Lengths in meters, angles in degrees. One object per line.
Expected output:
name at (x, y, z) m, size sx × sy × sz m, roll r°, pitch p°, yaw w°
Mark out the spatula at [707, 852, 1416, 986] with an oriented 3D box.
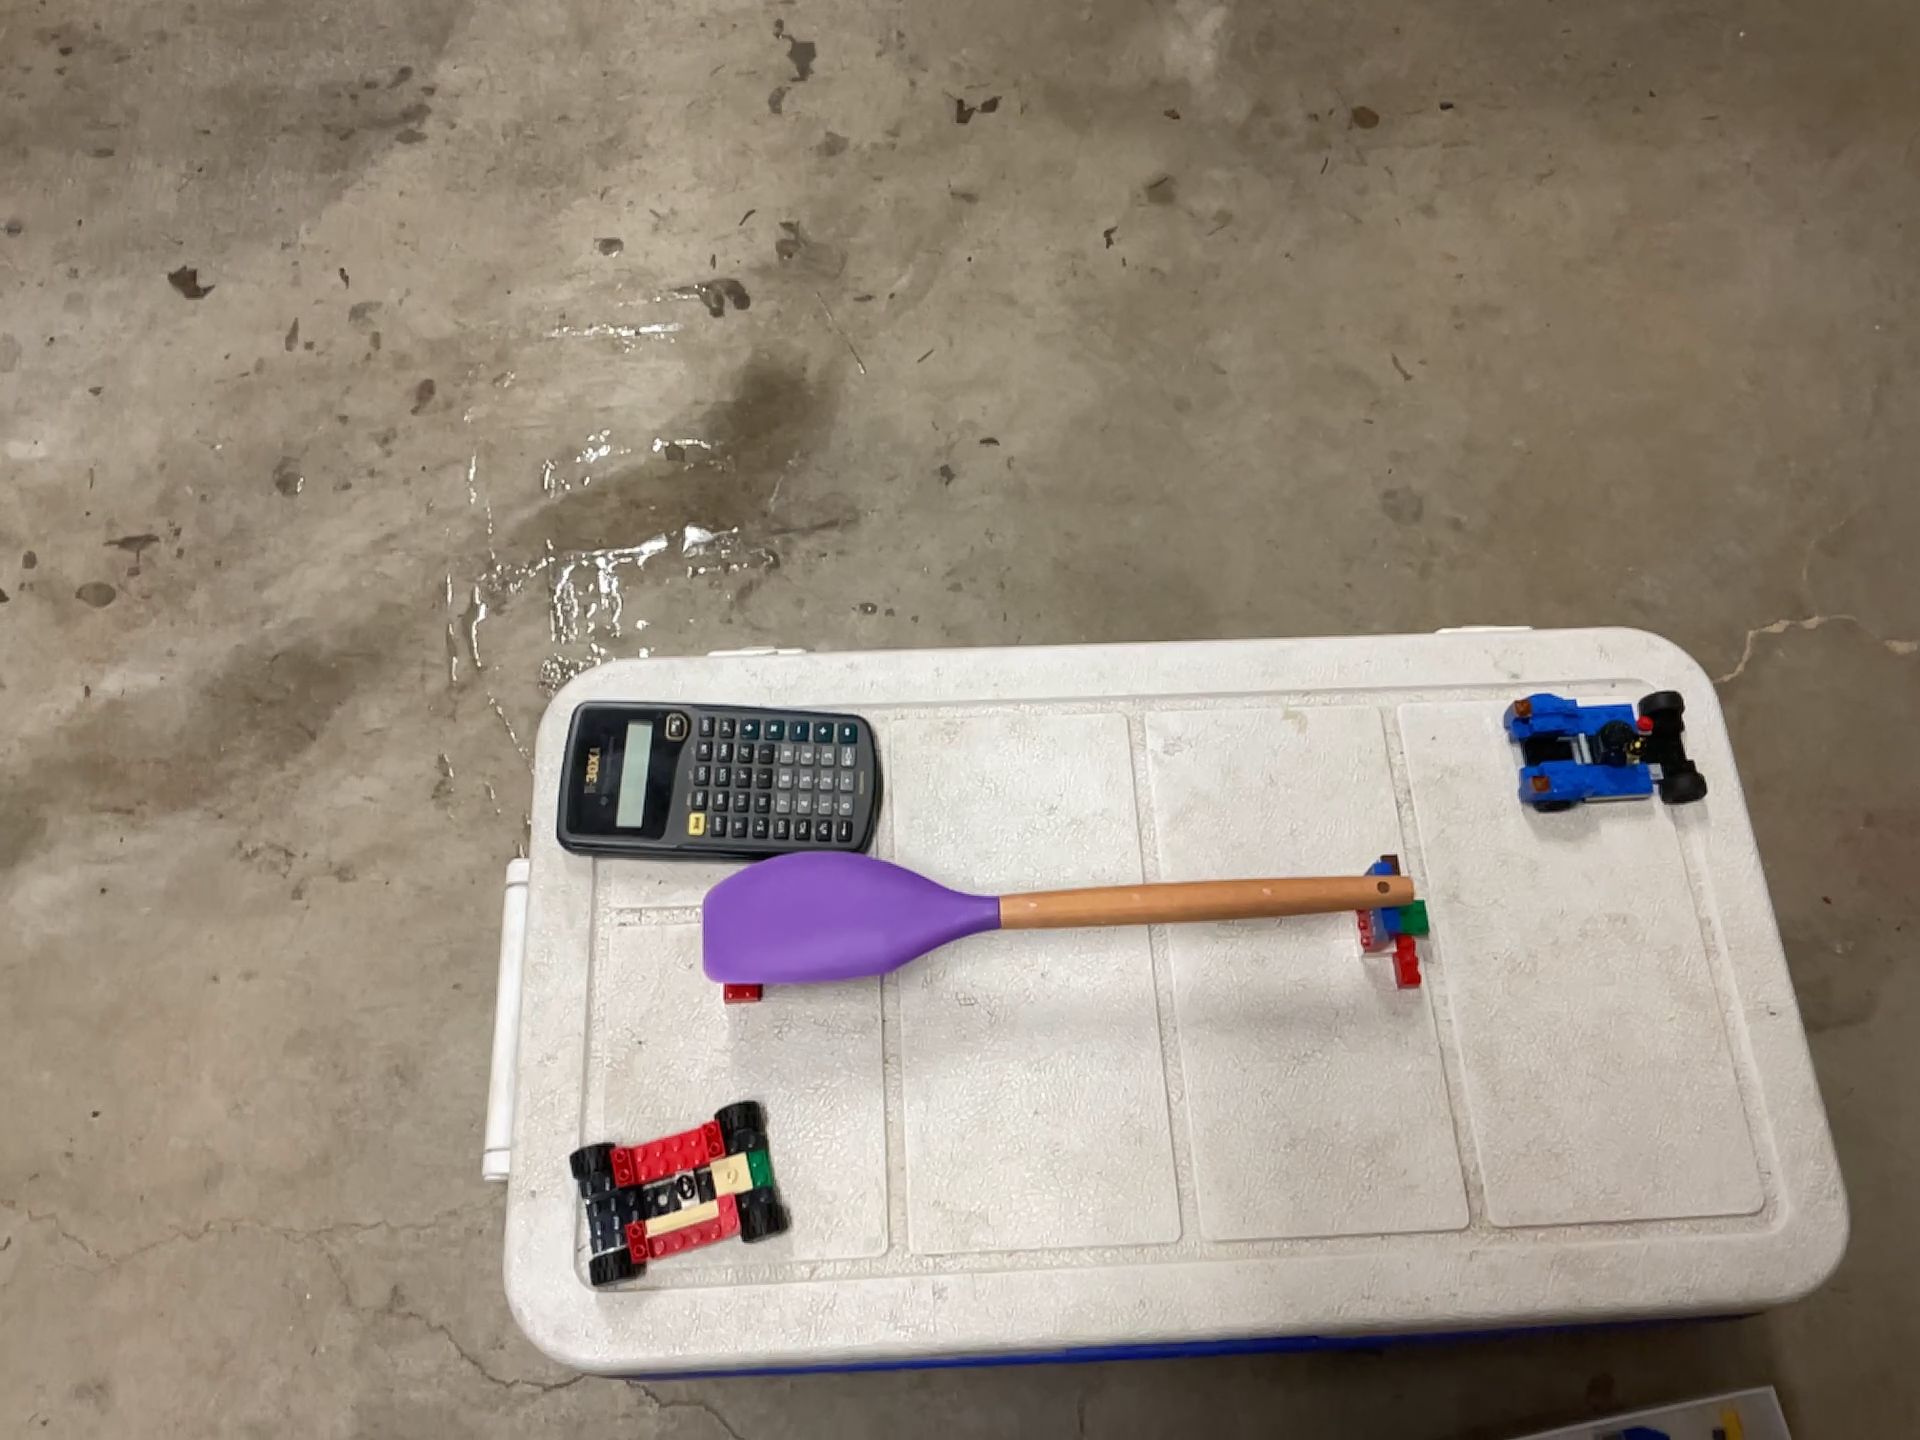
spatula at (0.045, 0.082, 0.712) m, size 0.316 × 0.018 × 0.060 m, roll -3°, pitch 67°, yaw -2°
